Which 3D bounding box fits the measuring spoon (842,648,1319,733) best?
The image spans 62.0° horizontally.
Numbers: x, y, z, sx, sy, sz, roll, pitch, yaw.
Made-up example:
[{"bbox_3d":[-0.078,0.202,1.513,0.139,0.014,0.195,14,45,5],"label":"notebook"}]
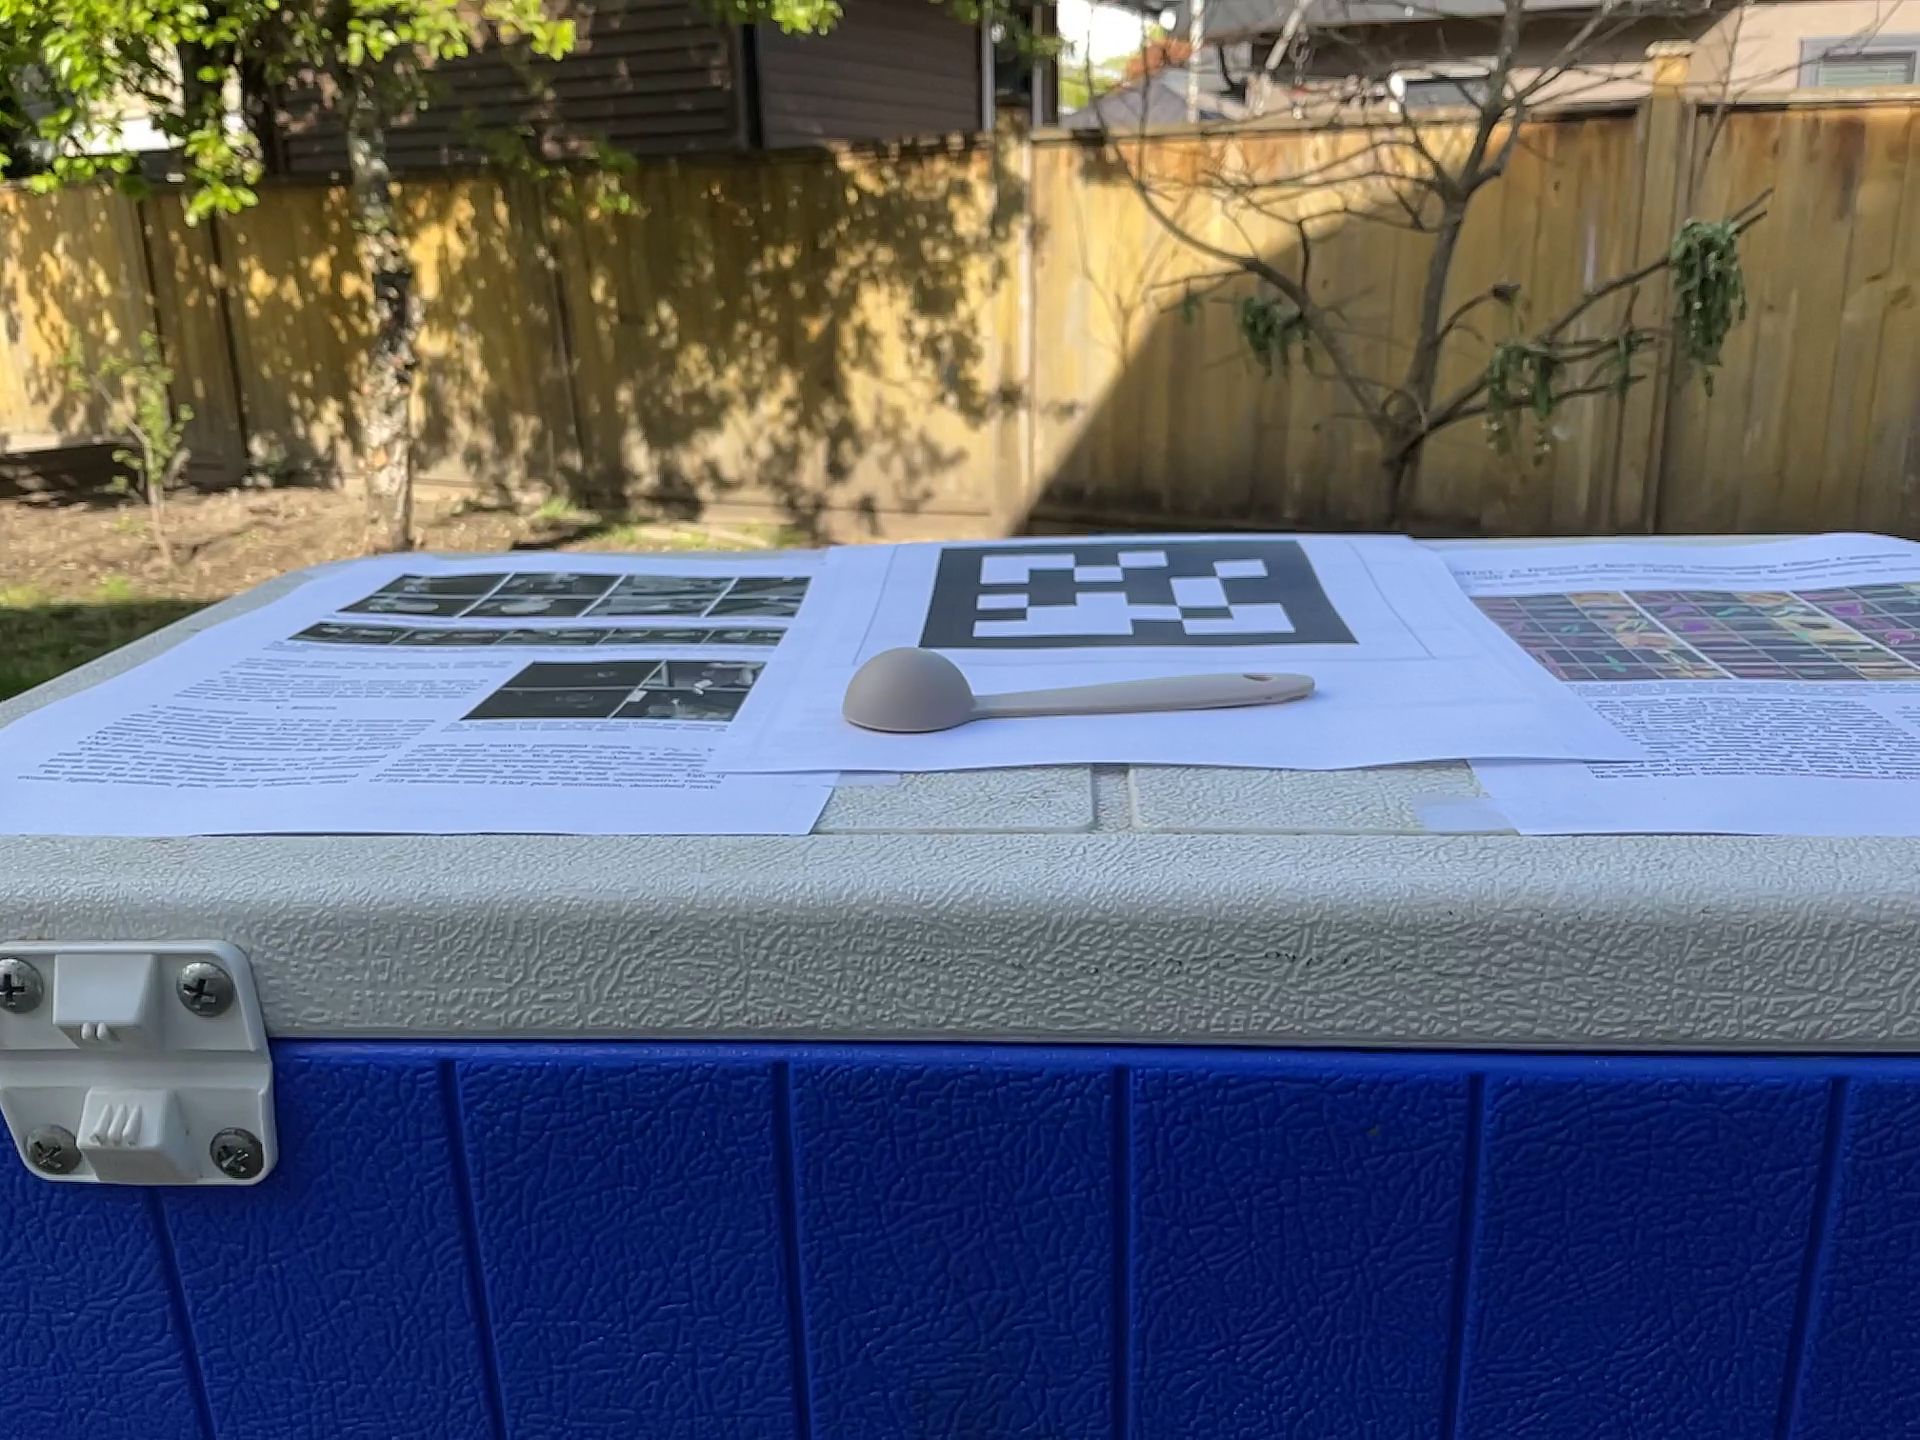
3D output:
[{"bbox_3d":[0.031,-0.012,0.408,0.124,0.018,0.034,-3,17,-6],"label":"measuring spoon"}]
